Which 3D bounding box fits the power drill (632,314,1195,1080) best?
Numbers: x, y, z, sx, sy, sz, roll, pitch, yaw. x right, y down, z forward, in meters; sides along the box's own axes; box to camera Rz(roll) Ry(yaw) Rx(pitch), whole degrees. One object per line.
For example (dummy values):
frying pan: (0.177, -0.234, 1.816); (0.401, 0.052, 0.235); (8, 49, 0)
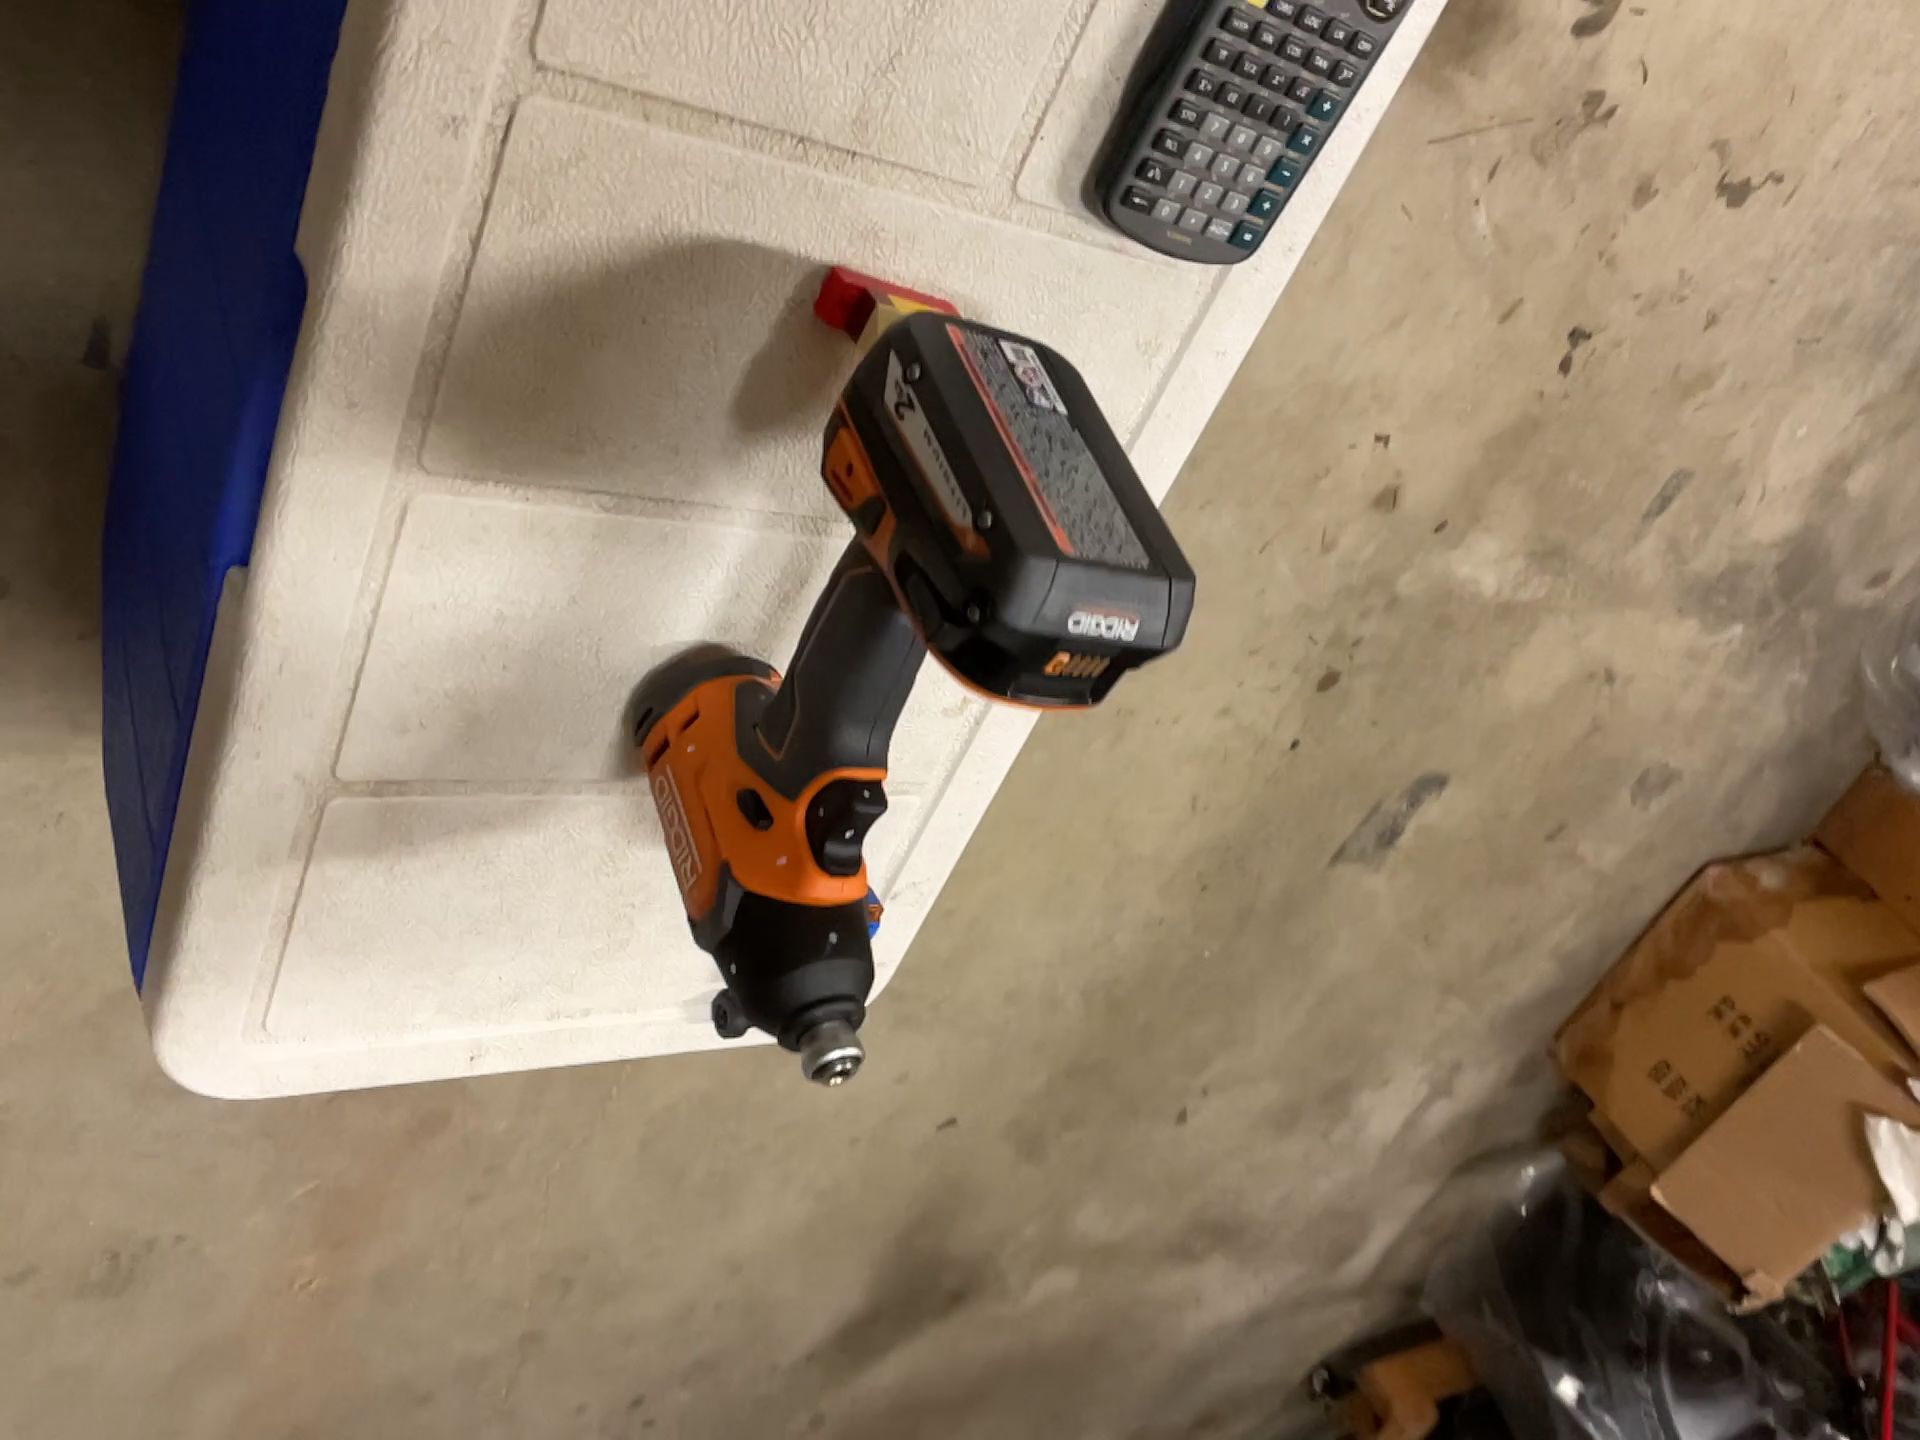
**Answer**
power drill: (-0.027, 0.002, 0.525); (0.084, 0.164, 0.226); (5, 139, -38)
